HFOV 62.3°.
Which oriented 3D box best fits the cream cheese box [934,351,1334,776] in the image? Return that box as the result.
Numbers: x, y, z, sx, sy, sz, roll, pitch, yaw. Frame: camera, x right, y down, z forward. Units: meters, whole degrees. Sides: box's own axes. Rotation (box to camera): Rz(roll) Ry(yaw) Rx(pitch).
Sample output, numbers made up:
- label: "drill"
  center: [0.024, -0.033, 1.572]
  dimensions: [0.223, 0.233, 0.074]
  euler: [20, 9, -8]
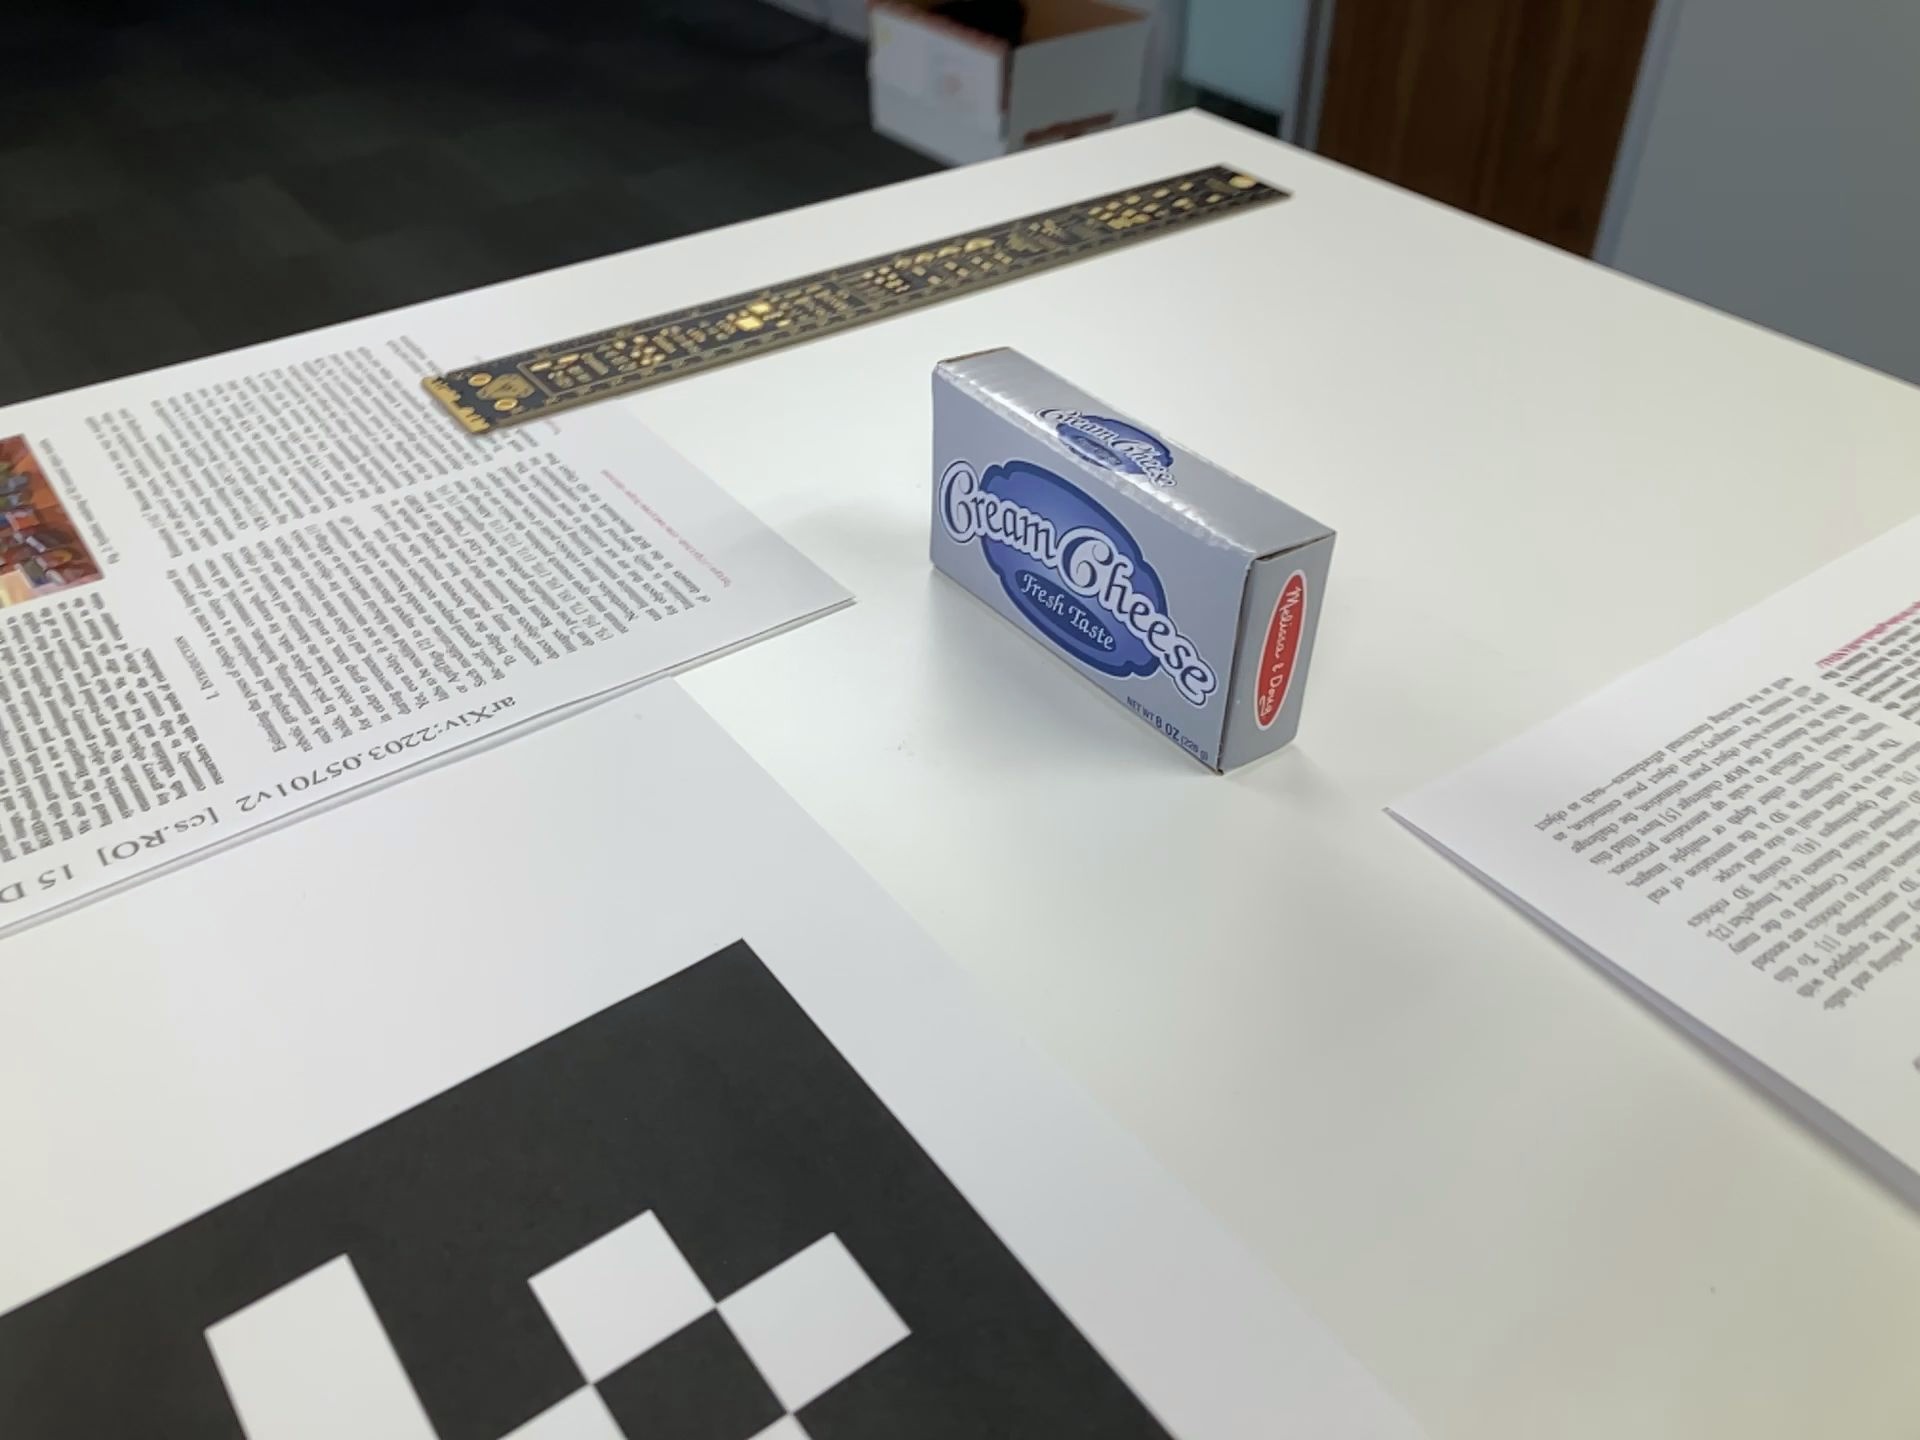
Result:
- label: "cream cheese box"
  center: [0.033, -0.038, 0.350]
  dimensions: [0.024, 0.053, 0.104]
  euler: [-23, 44, -30]
